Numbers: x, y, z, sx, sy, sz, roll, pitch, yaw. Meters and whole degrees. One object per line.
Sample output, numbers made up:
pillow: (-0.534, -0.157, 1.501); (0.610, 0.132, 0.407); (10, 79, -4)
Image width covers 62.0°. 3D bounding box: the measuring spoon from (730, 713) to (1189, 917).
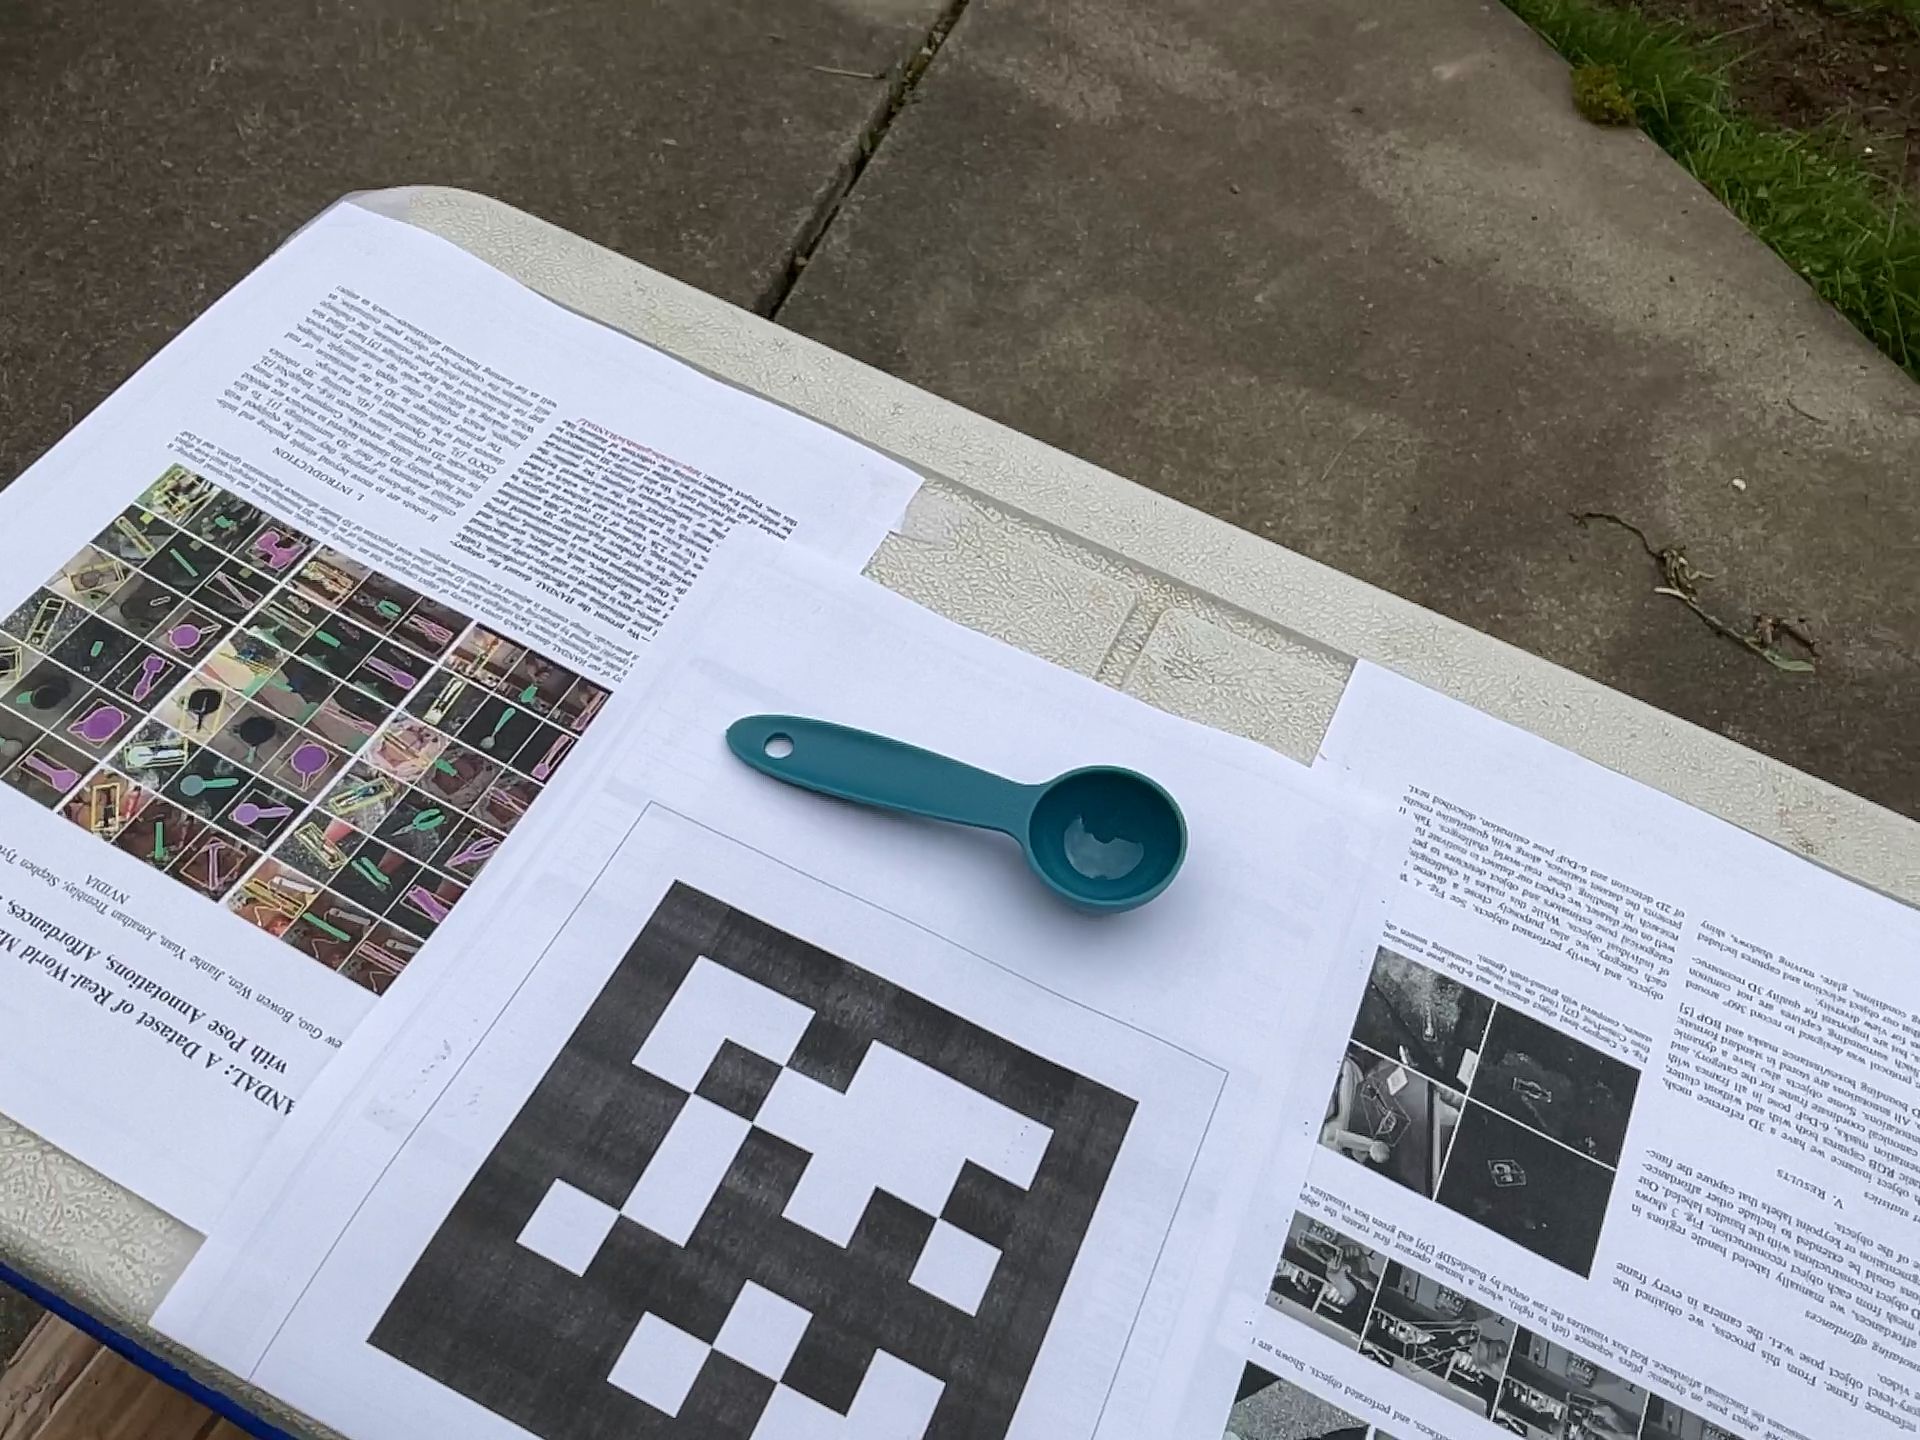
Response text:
measuring spoon: (-0.002, 0.024, 0.430); (0.128, 0.021, 0.042); (16, 56, 14)
